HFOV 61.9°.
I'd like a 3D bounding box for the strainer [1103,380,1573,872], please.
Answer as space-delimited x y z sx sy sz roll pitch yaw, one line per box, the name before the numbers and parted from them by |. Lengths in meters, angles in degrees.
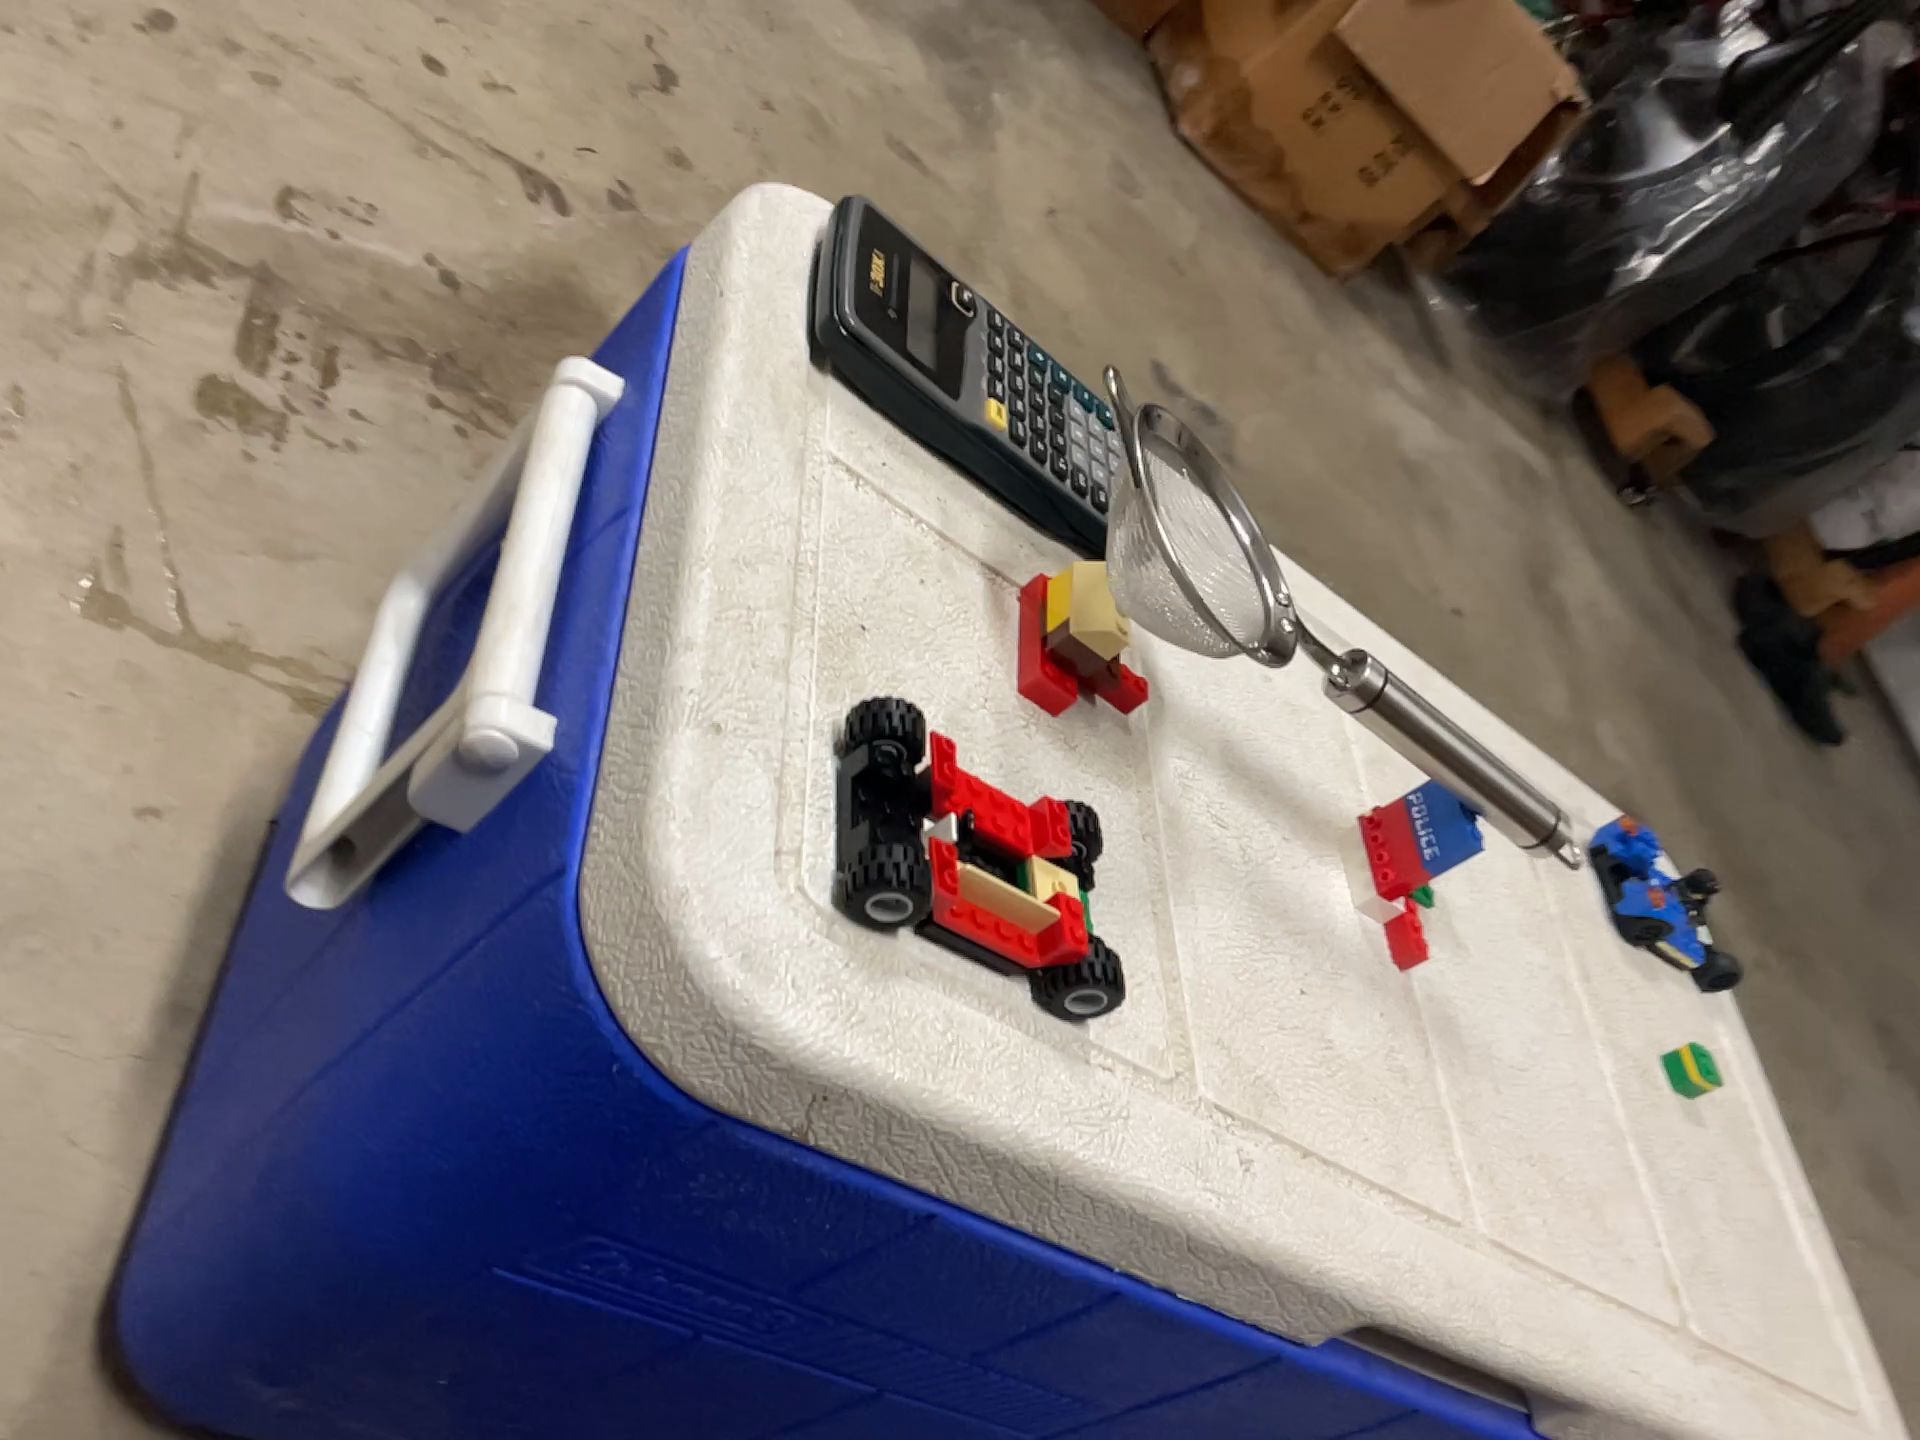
strainer | 0.119 -0.013 0.504 0.258 0.050 0.087 34 38 -27
